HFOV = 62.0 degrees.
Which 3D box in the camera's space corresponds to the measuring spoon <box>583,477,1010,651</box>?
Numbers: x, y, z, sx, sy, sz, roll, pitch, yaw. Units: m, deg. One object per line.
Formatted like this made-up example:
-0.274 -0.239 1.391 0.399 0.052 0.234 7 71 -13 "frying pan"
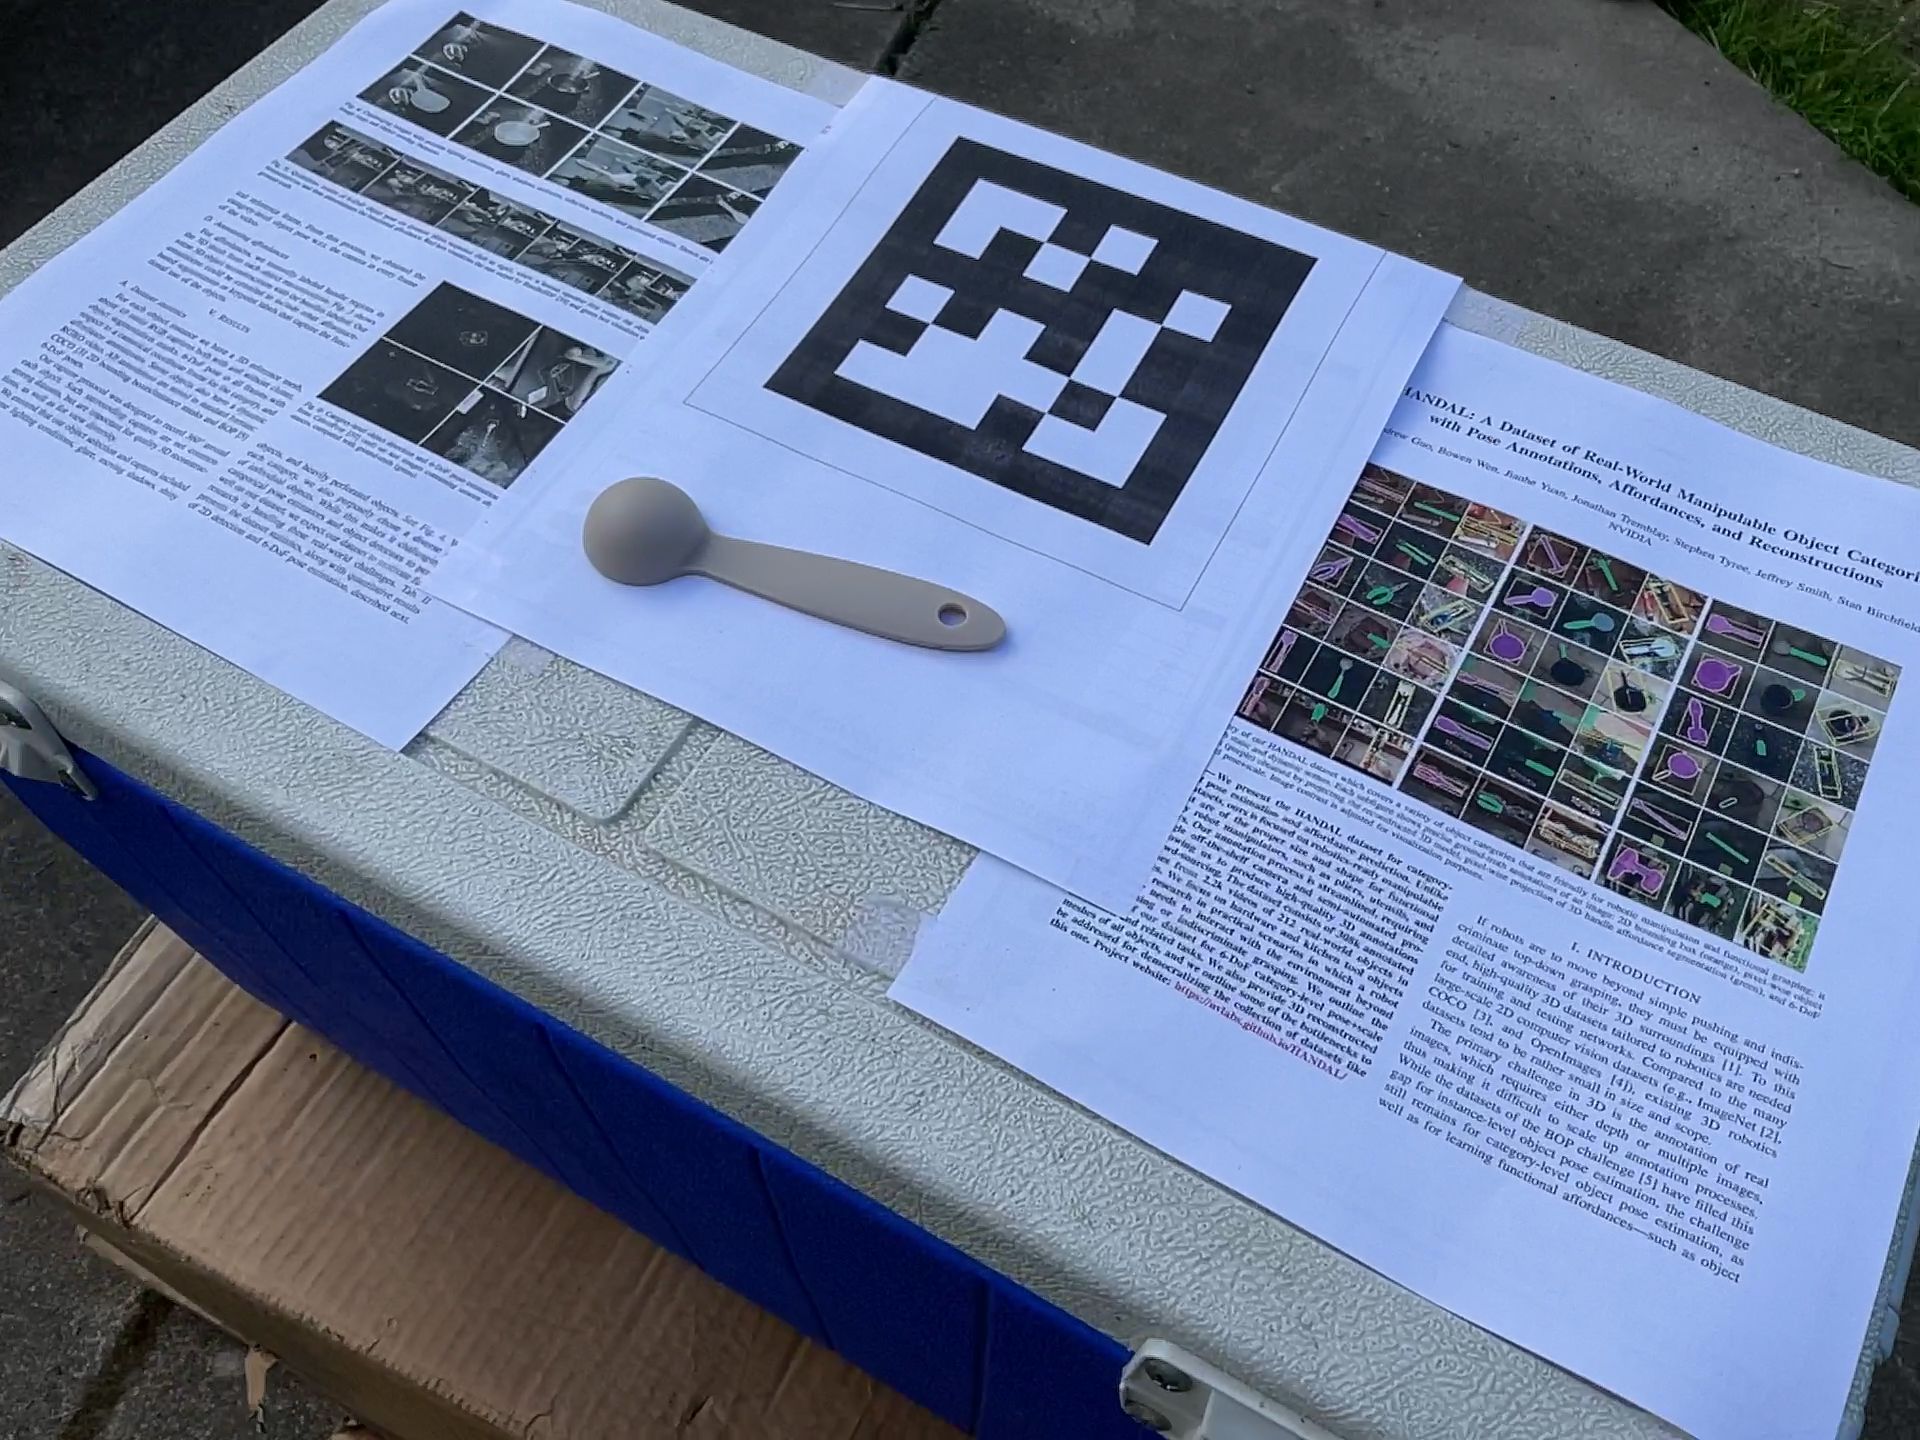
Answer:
-0.046 -0.043 0.434 0.124 0.018 0.034 16 58 10 "measuring spoon"
